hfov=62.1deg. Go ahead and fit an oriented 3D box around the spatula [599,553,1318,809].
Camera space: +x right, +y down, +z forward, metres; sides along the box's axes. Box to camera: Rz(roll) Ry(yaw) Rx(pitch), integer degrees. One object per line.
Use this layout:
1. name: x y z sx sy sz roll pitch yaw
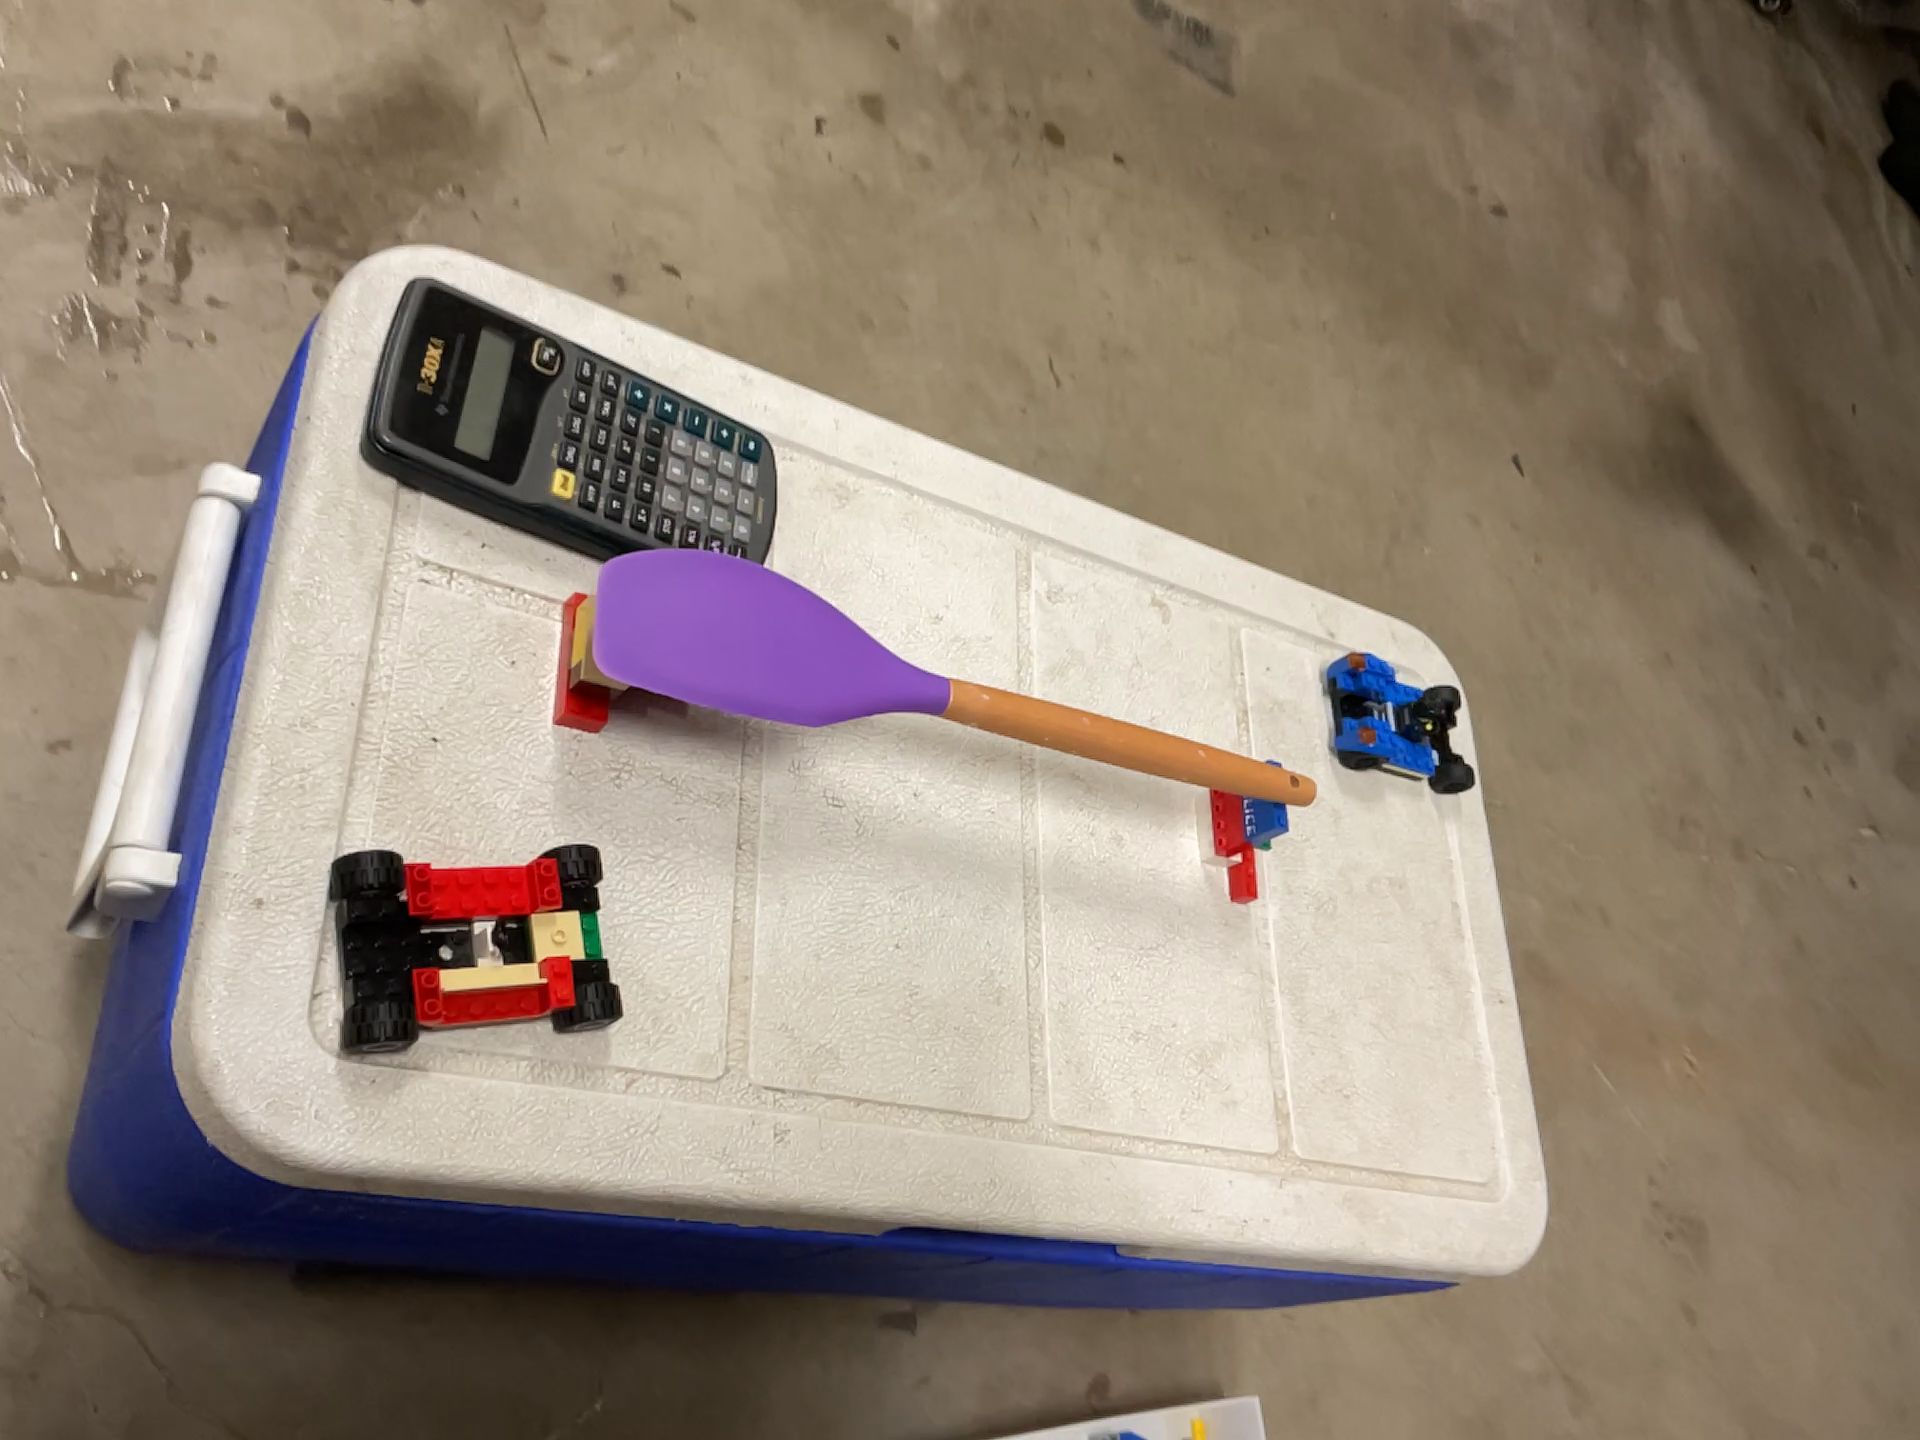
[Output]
1. spatula: 0.016 -0.004 0.600 0.316 0.018 0.060 15 61 -30
